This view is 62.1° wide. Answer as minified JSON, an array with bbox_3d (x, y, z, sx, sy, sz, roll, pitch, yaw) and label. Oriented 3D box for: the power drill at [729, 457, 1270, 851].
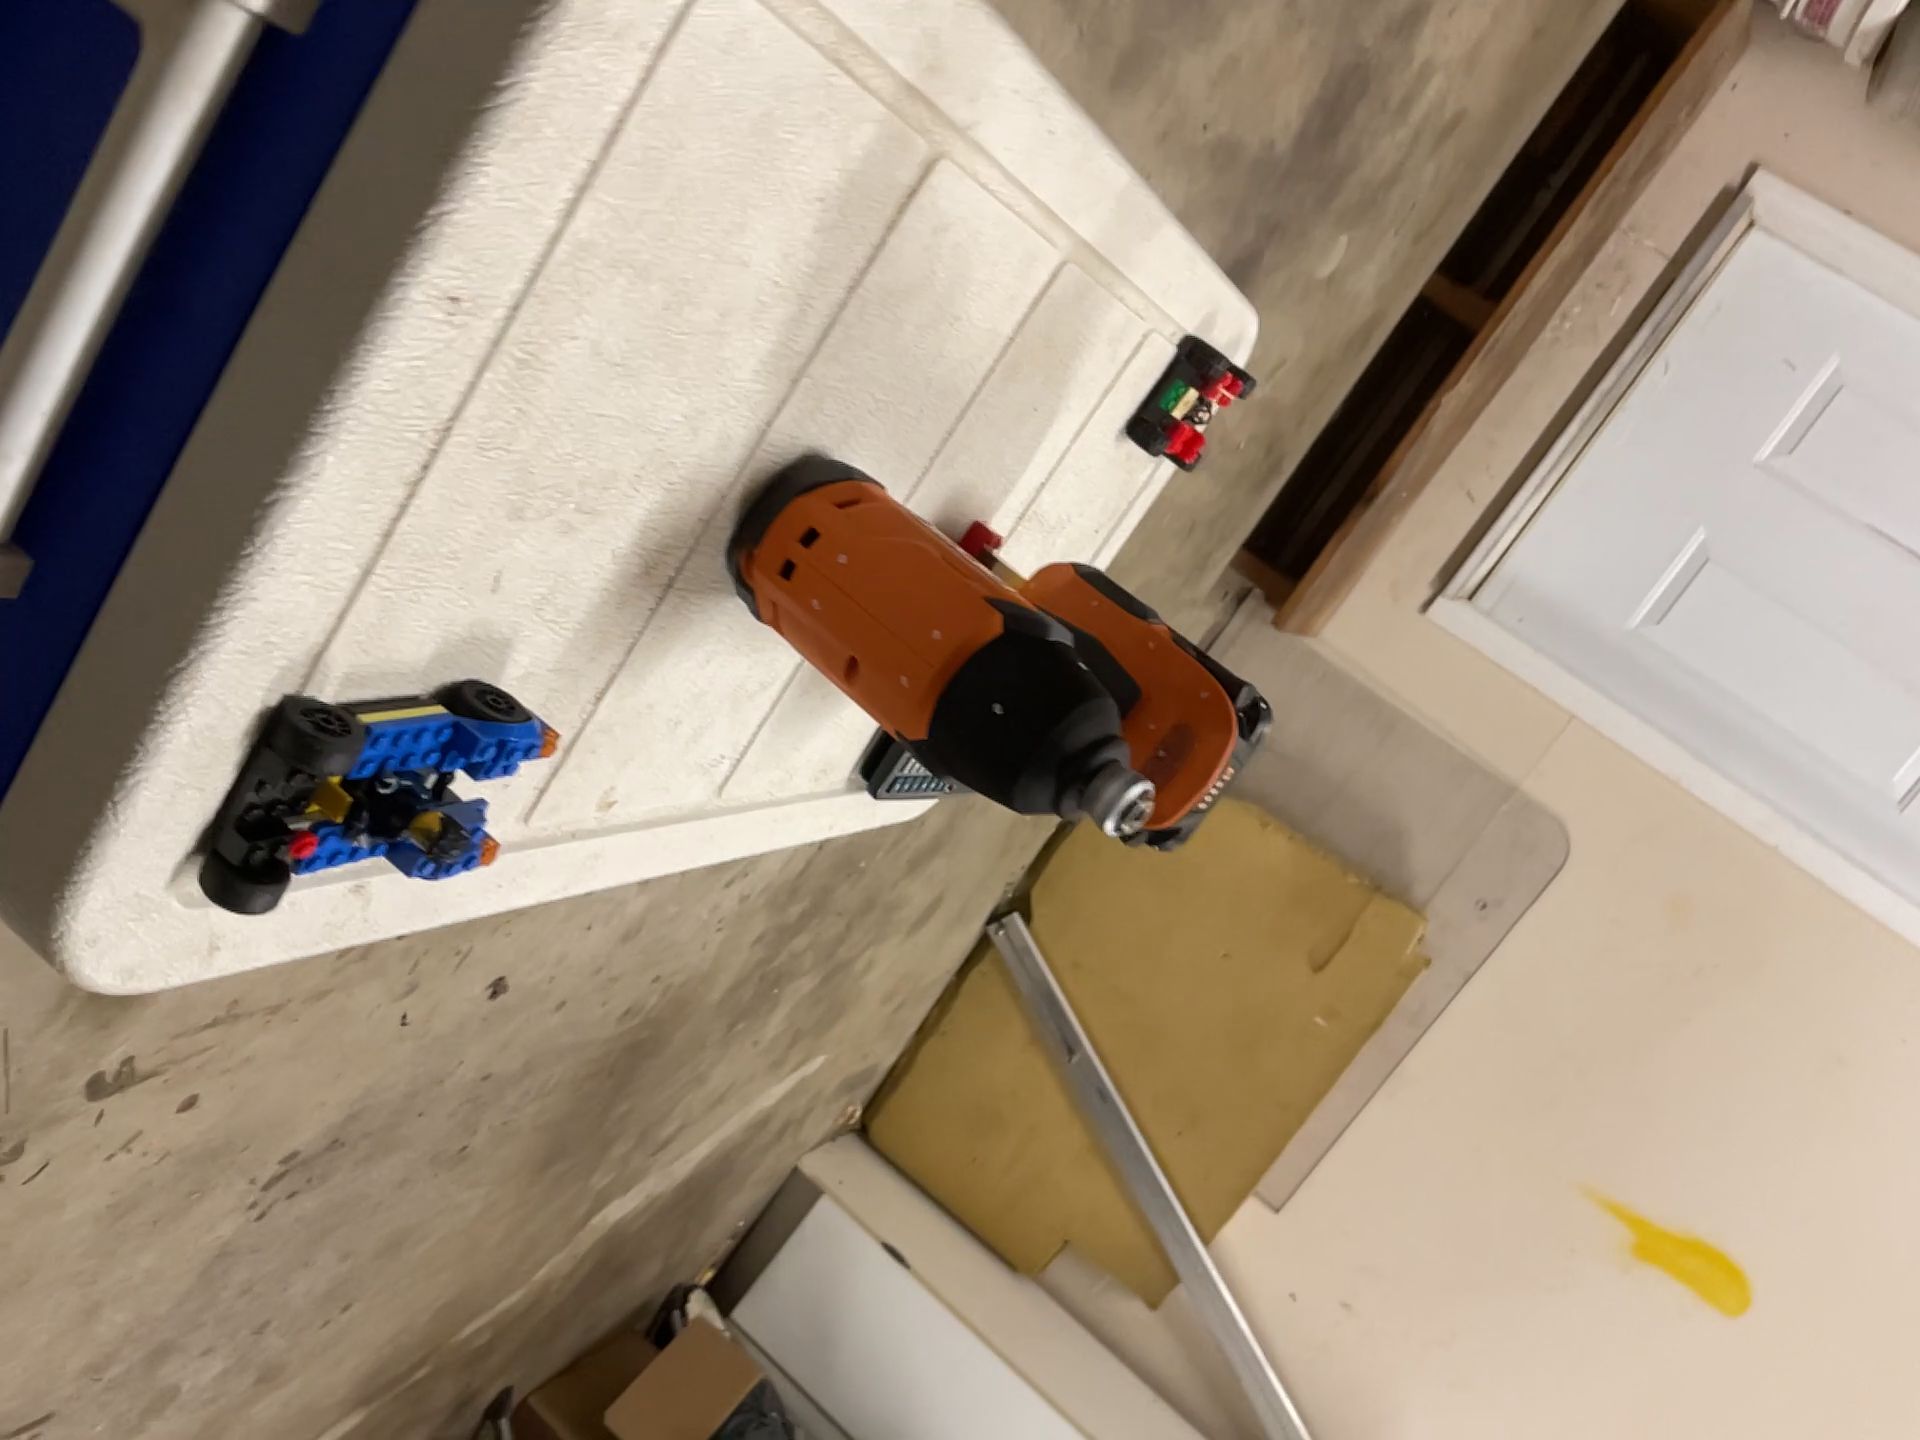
[{"bbox_3d":[0.034,-0.009,0.590,0.084,0.164,0.226,-54,153,11],"label":"power drill"}]
